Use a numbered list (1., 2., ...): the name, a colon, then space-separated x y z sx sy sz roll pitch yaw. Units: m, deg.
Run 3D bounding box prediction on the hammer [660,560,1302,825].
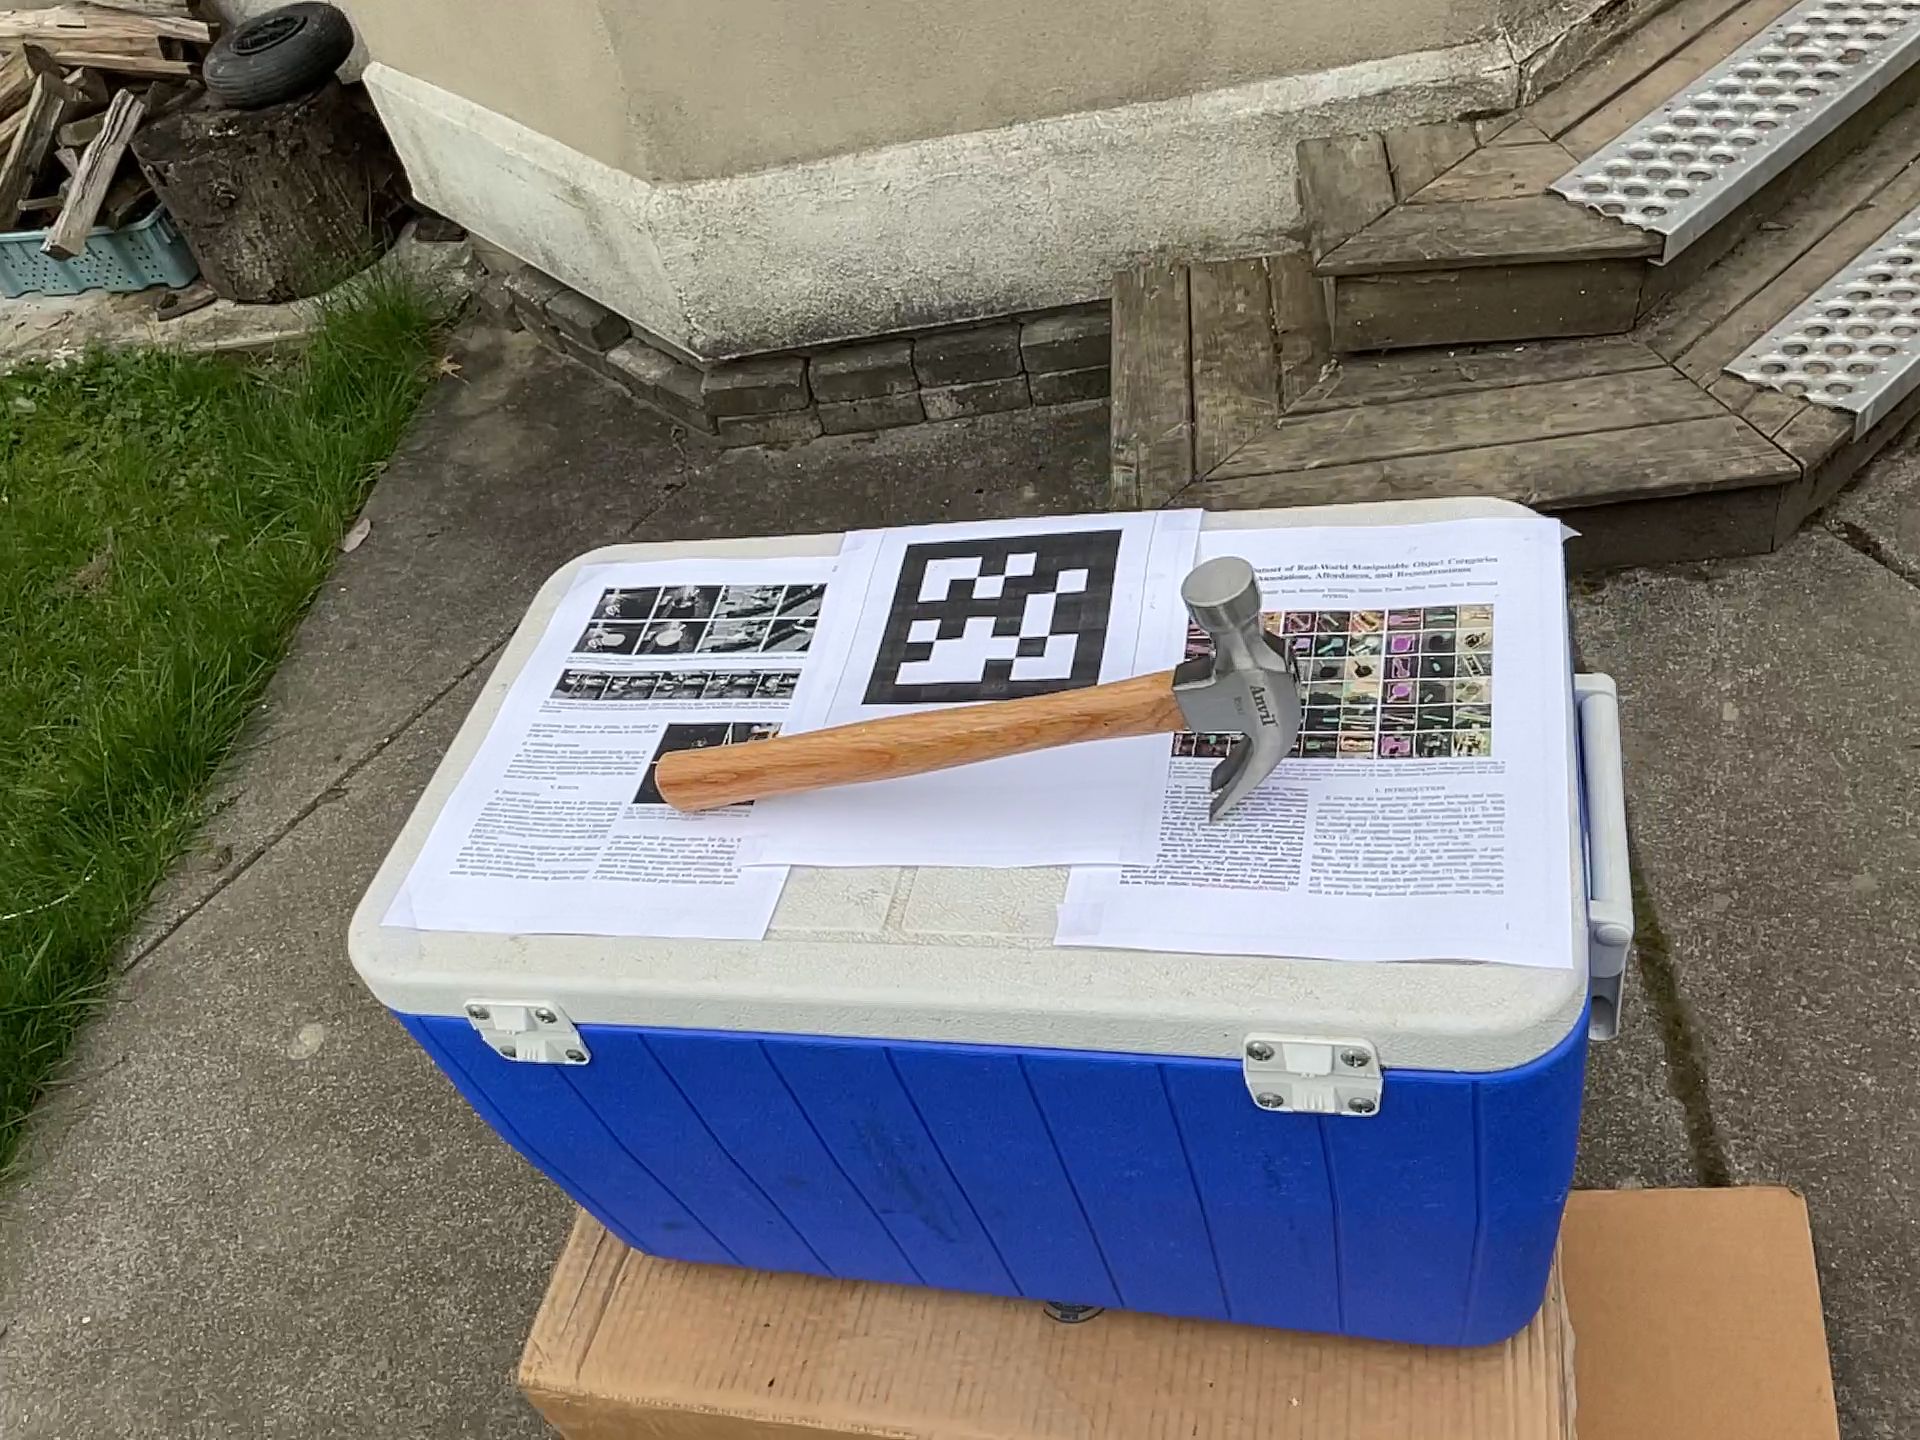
1. hammer: 0.000 0.010 0.767 0.331 0.129 0.031 -10 42 25
